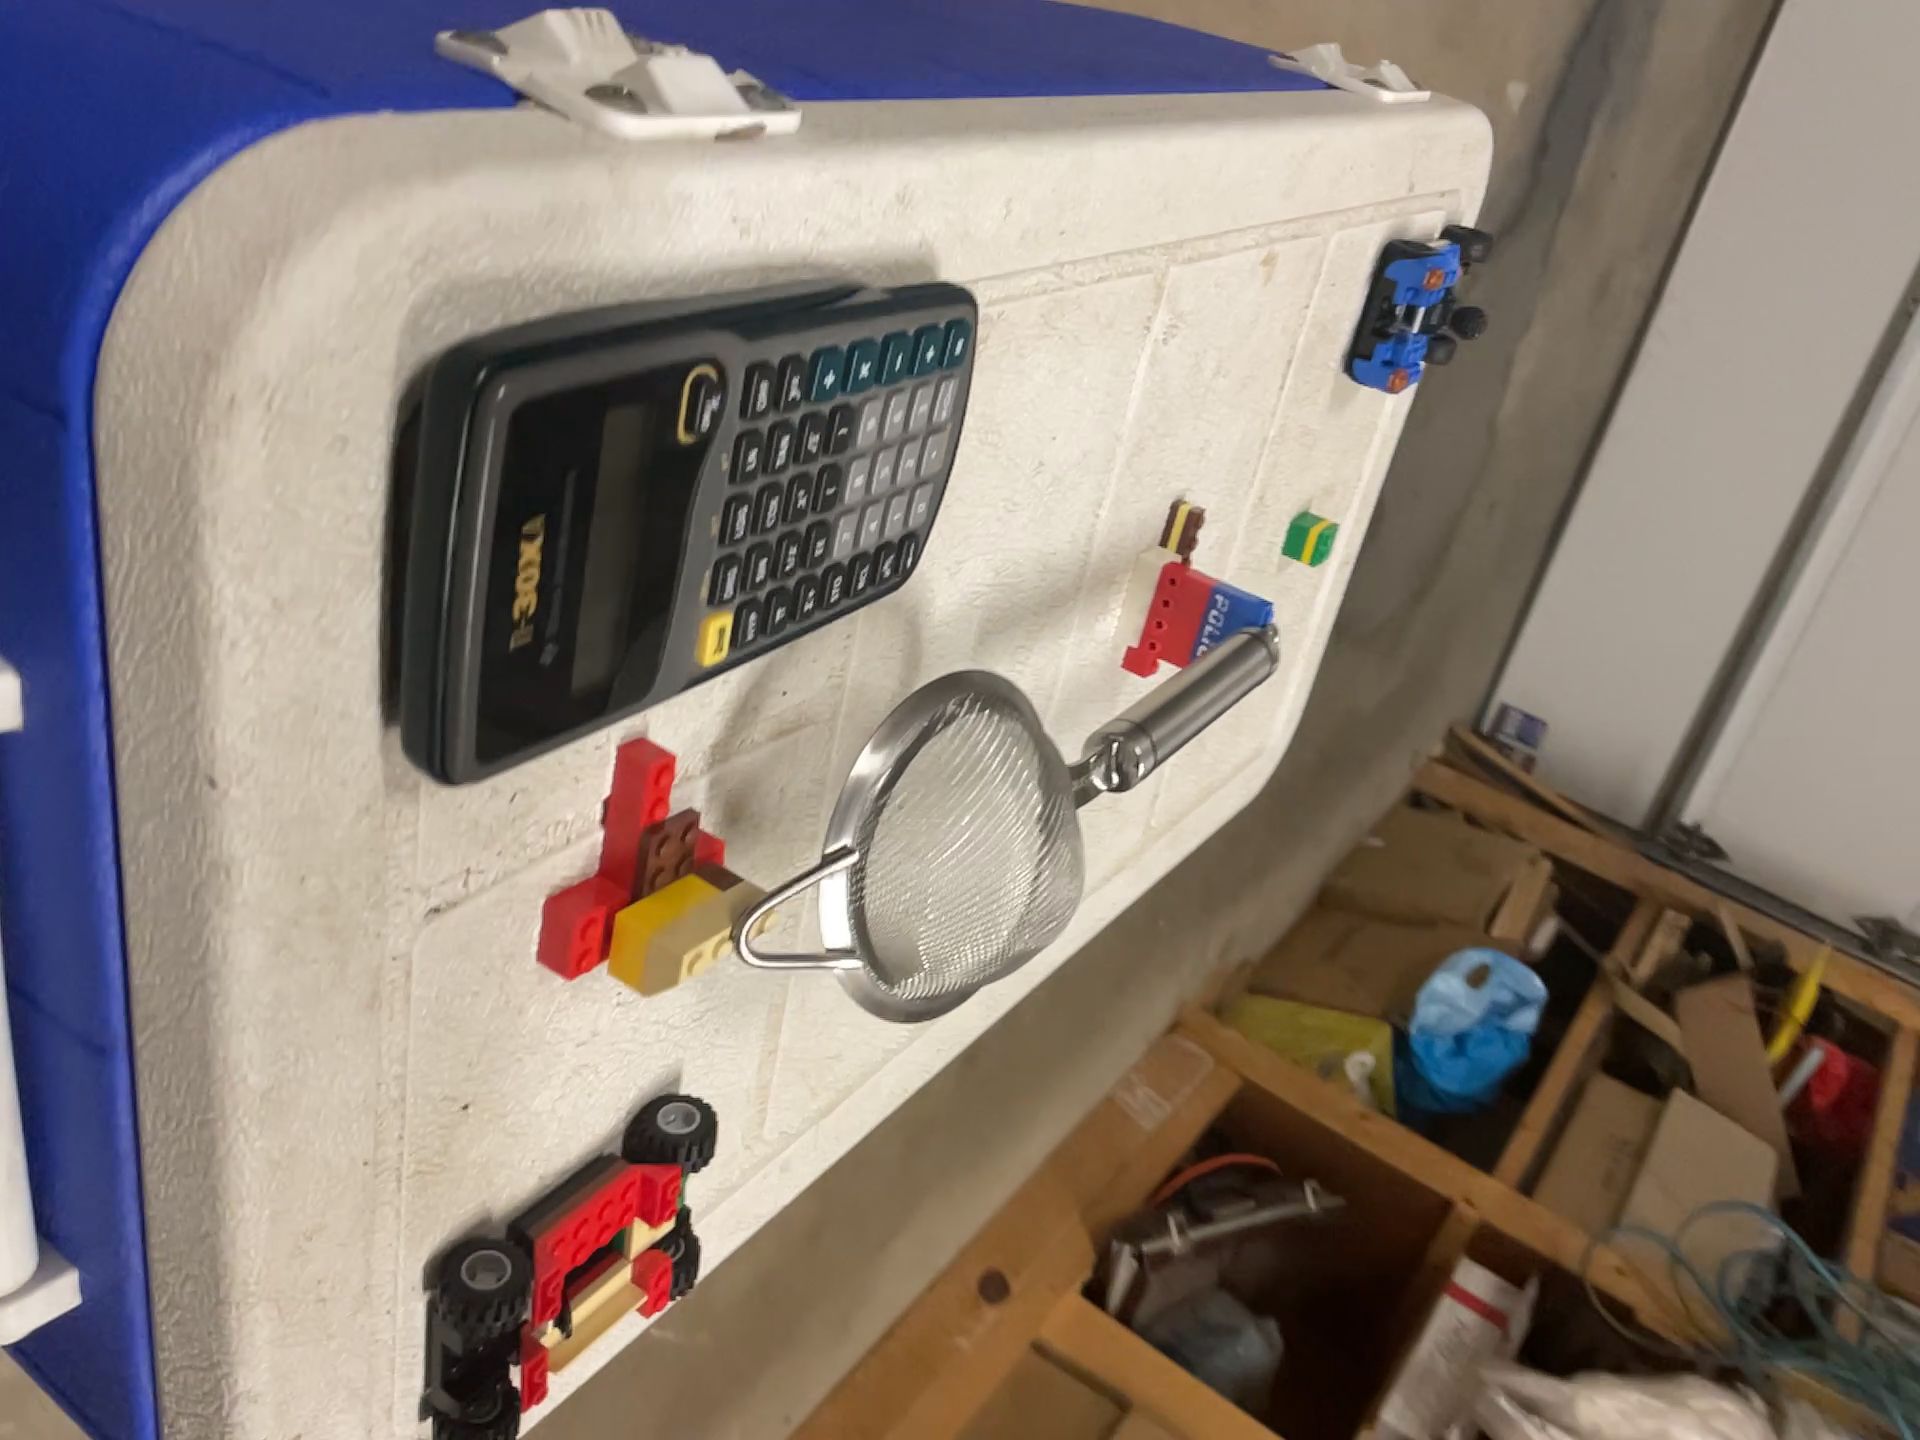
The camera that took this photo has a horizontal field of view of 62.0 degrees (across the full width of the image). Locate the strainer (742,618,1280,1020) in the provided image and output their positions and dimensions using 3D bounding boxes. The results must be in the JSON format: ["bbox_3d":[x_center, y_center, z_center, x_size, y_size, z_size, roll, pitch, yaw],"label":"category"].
[{"bbox_3d":[0.040,0.010,0.430,0.258,0.050,0.086,-31,125,-53],"label":"strainer"}]
